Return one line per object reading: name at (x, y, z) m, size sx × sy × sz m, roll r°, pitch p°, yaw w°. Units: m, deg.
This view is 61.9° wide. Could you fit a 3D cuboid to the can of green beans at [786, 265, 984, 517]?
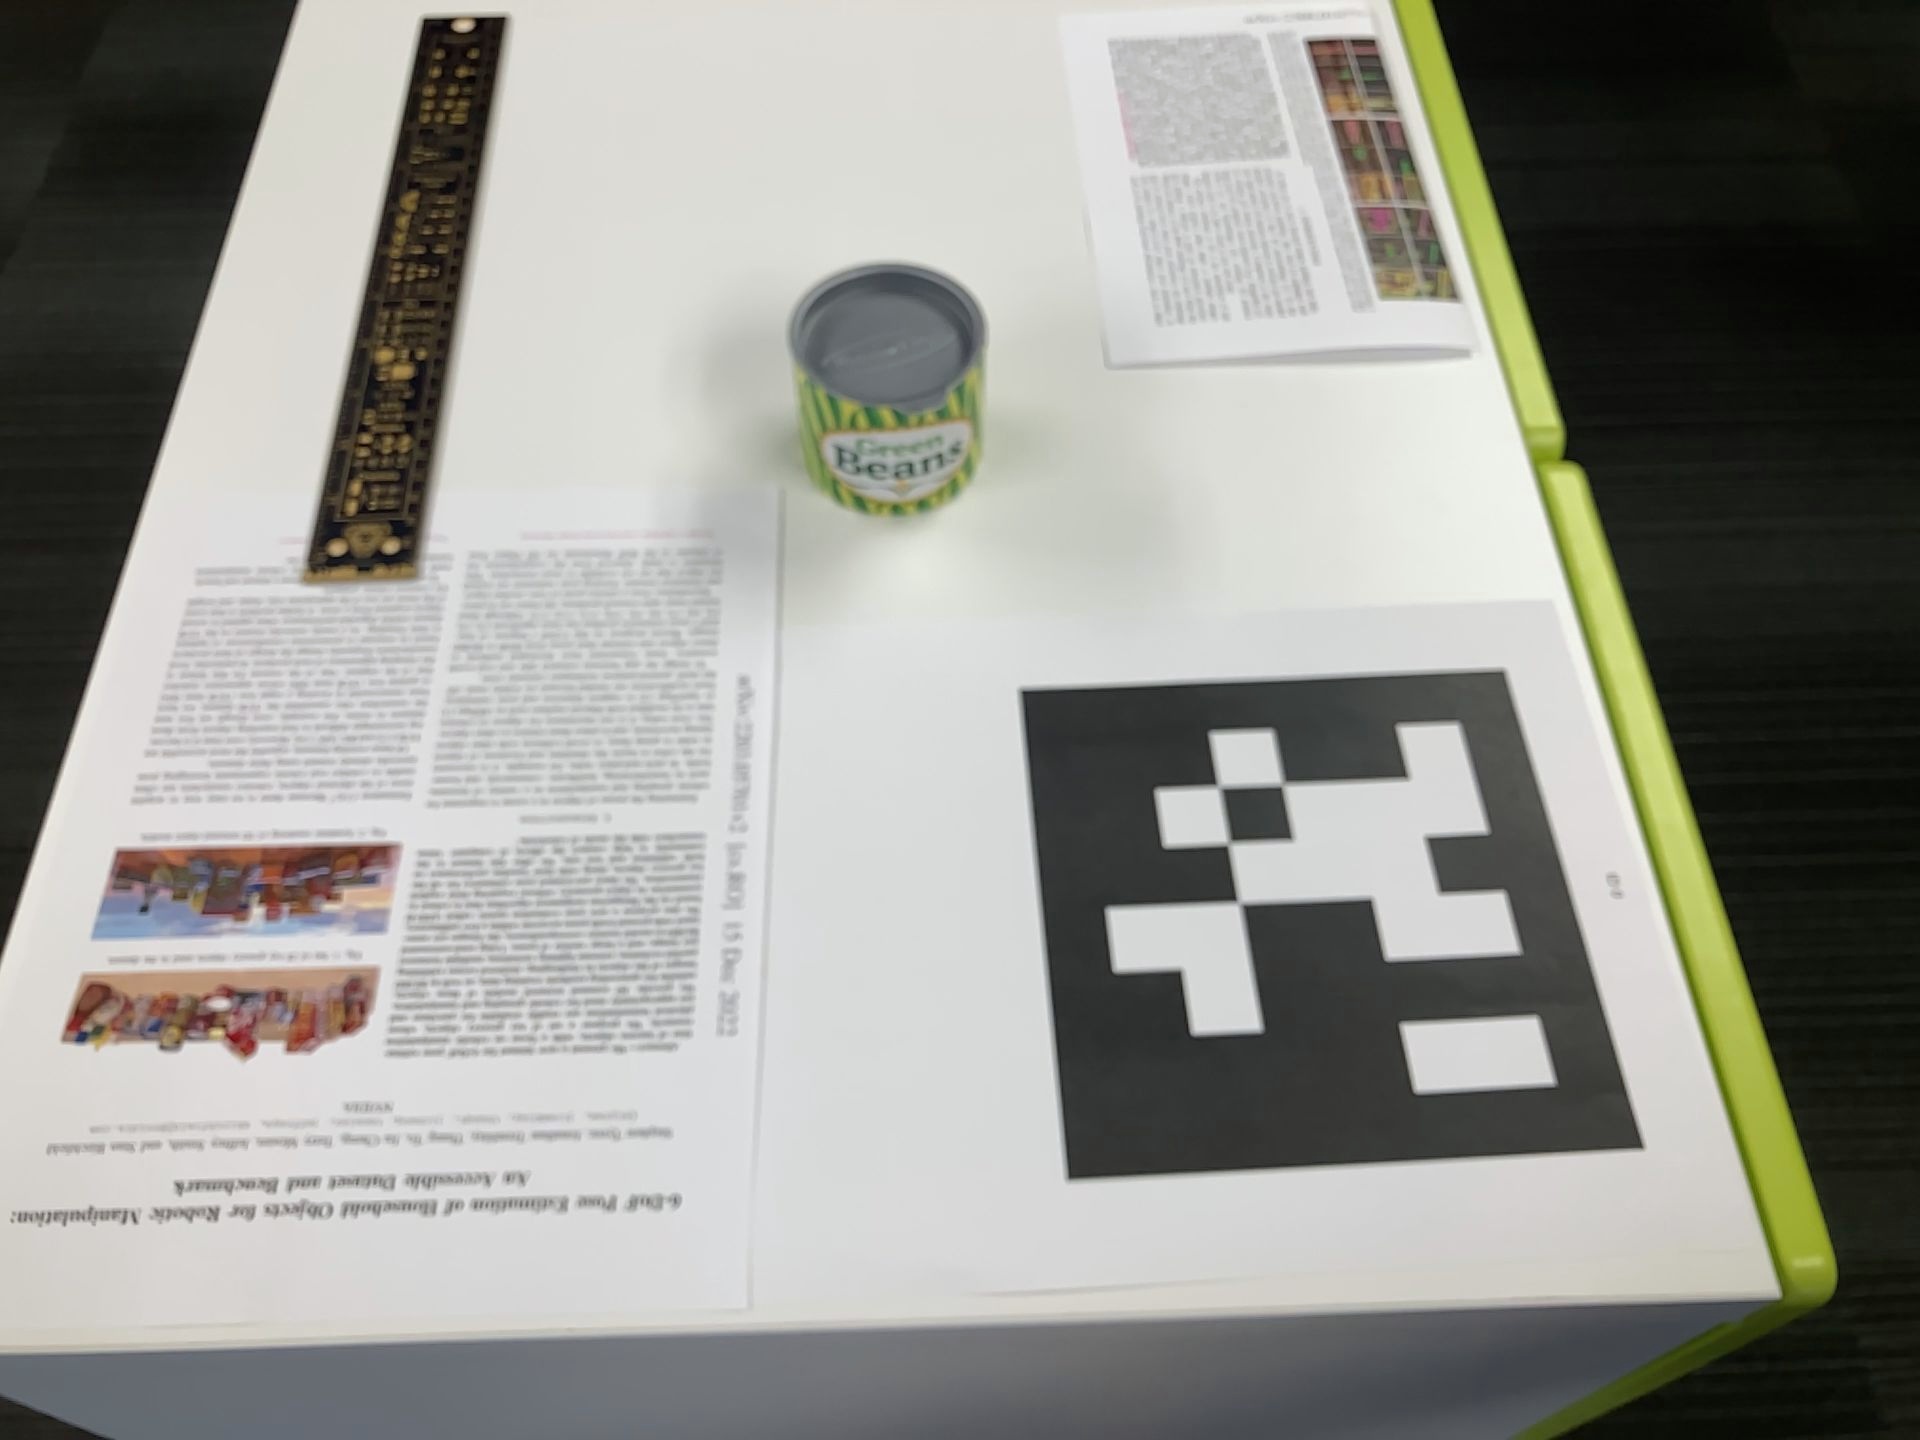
can of green beans at (-0.025, -0.114, 0.559) m, size 0.071 × 0.058 × 0.071 m, roll 0°, pitch 57°, yaw 0°
